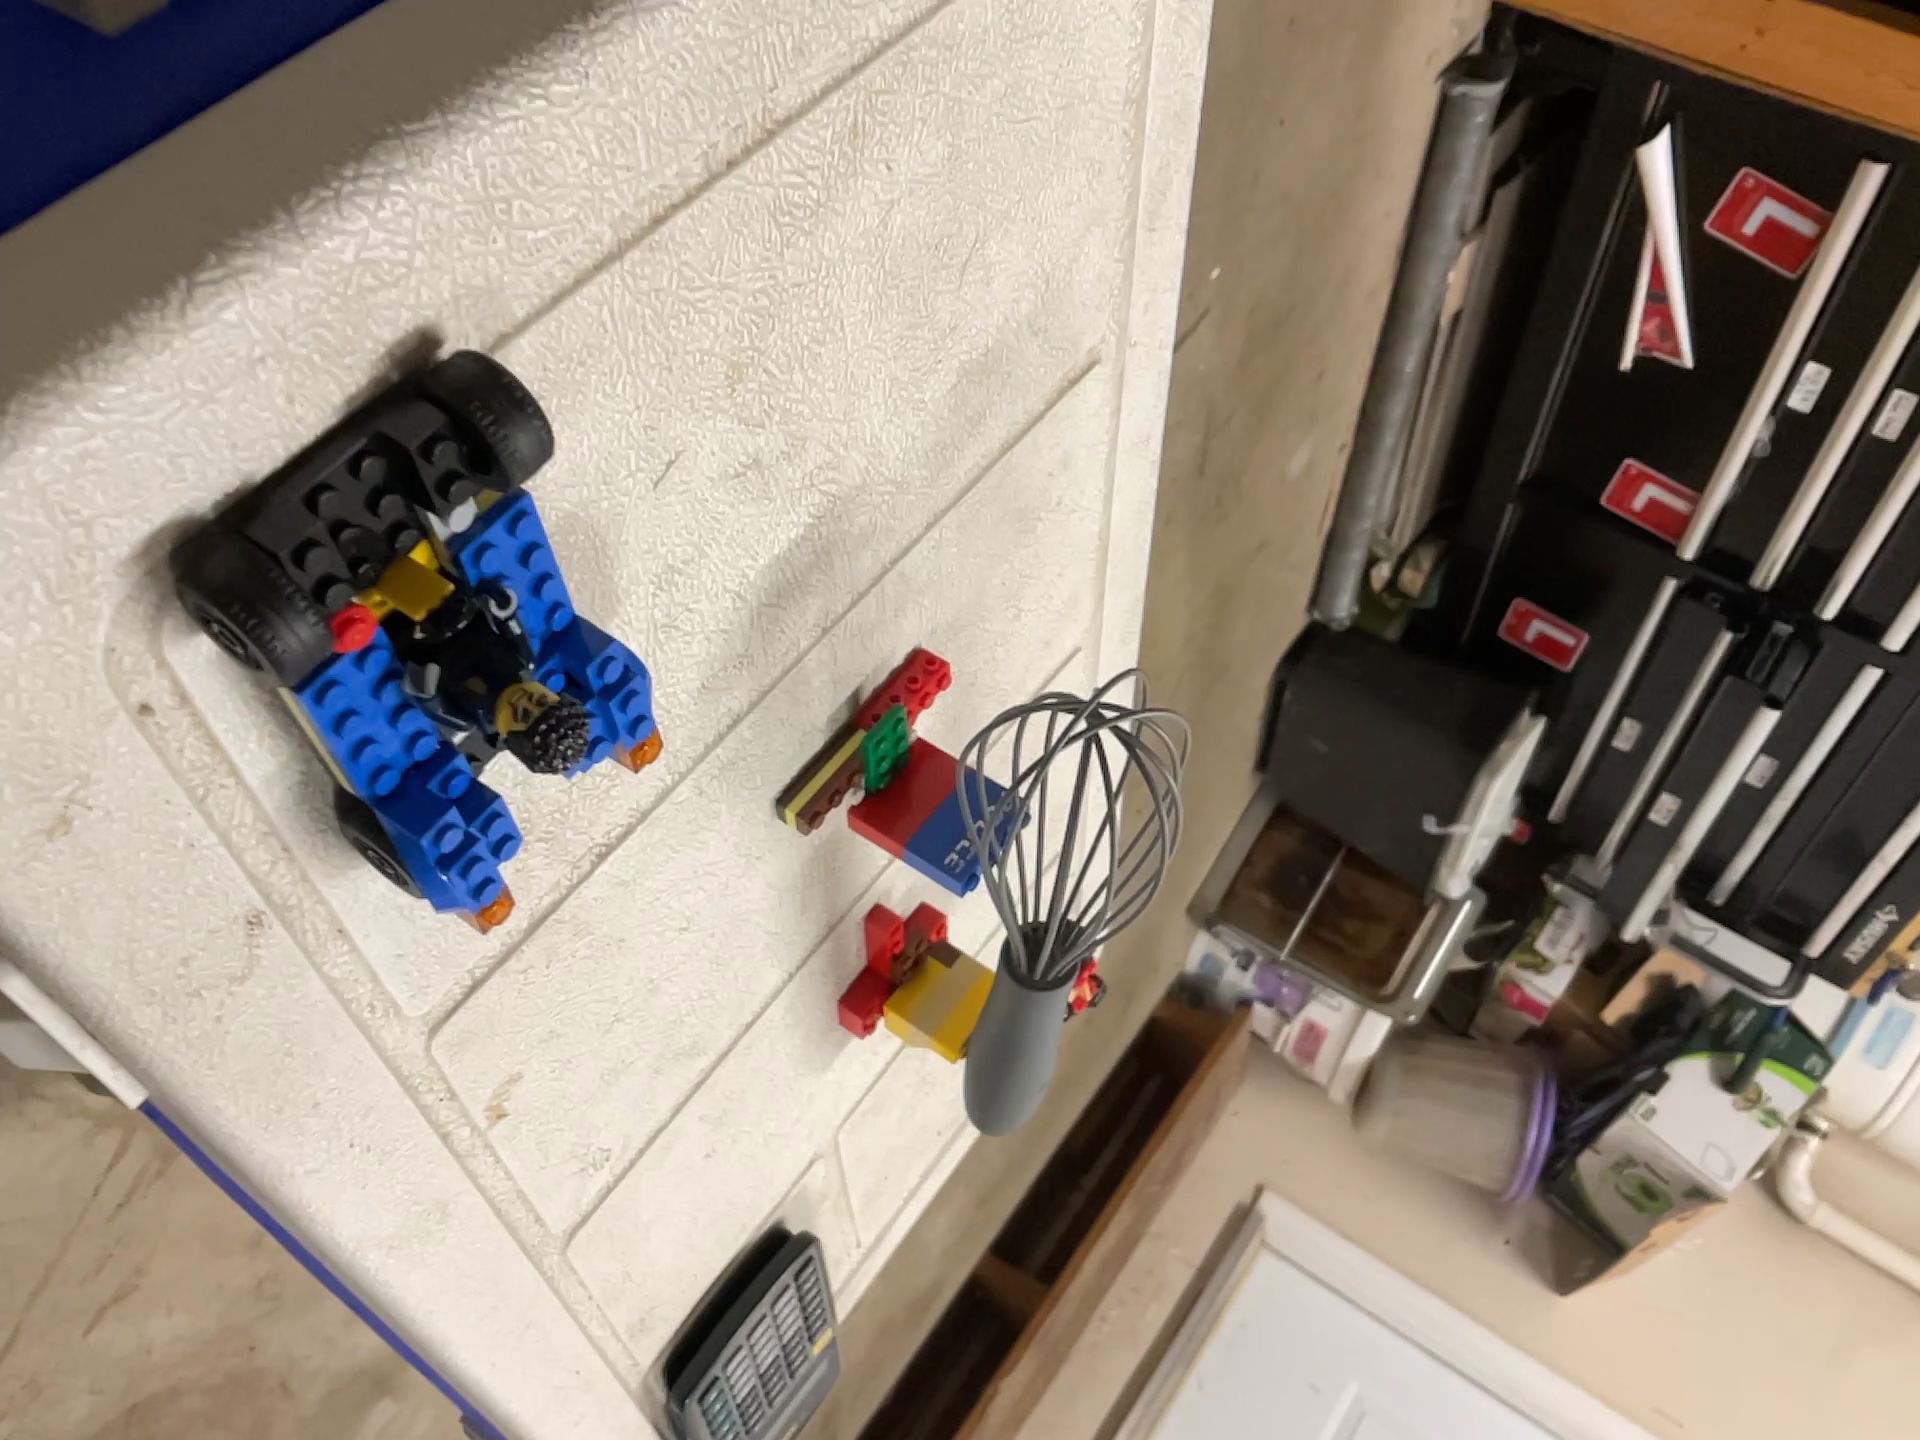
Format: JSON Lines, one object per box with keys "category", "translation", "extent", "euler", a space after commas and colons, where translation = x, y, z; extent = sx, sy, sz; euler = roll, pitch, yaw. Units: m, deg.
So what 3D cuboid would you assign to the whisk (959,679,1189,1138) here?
{"category": "whisk", "translation": [0.019, 0.067, 0.448], "extent": [0.055, 0.055, 0.239], "euler": [-44, 159, -30]}
